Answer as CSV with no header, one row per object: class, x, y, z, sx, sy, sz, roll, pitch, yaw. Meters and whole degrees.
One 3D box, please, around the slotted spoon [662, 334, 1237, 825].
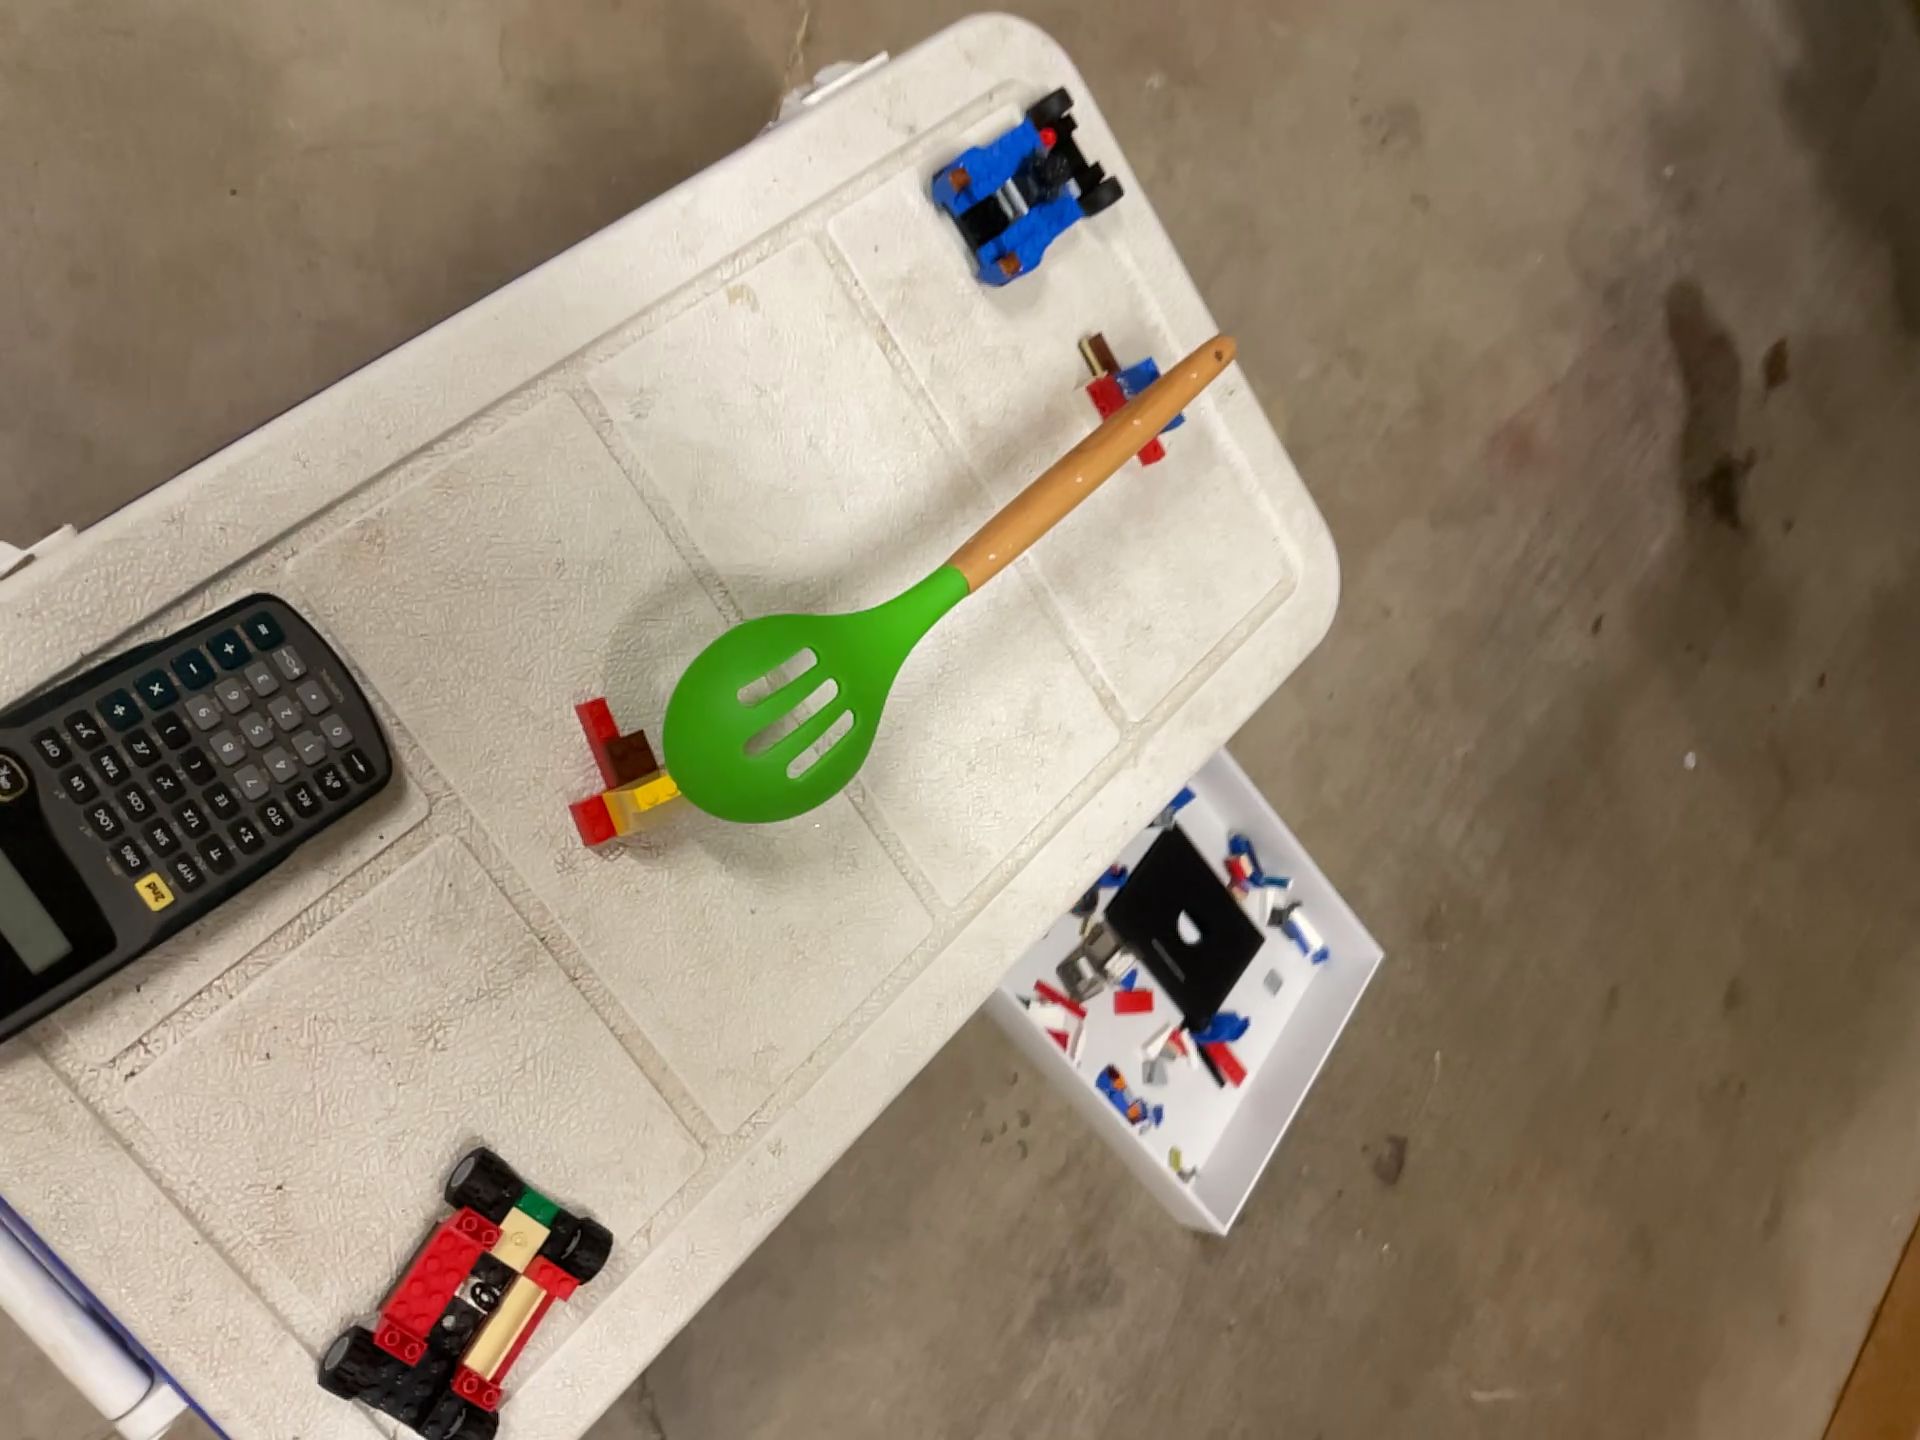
slotted spoon,0.013,-0.070,0.610,0.314,0.031,0.070,-42,107,-29
